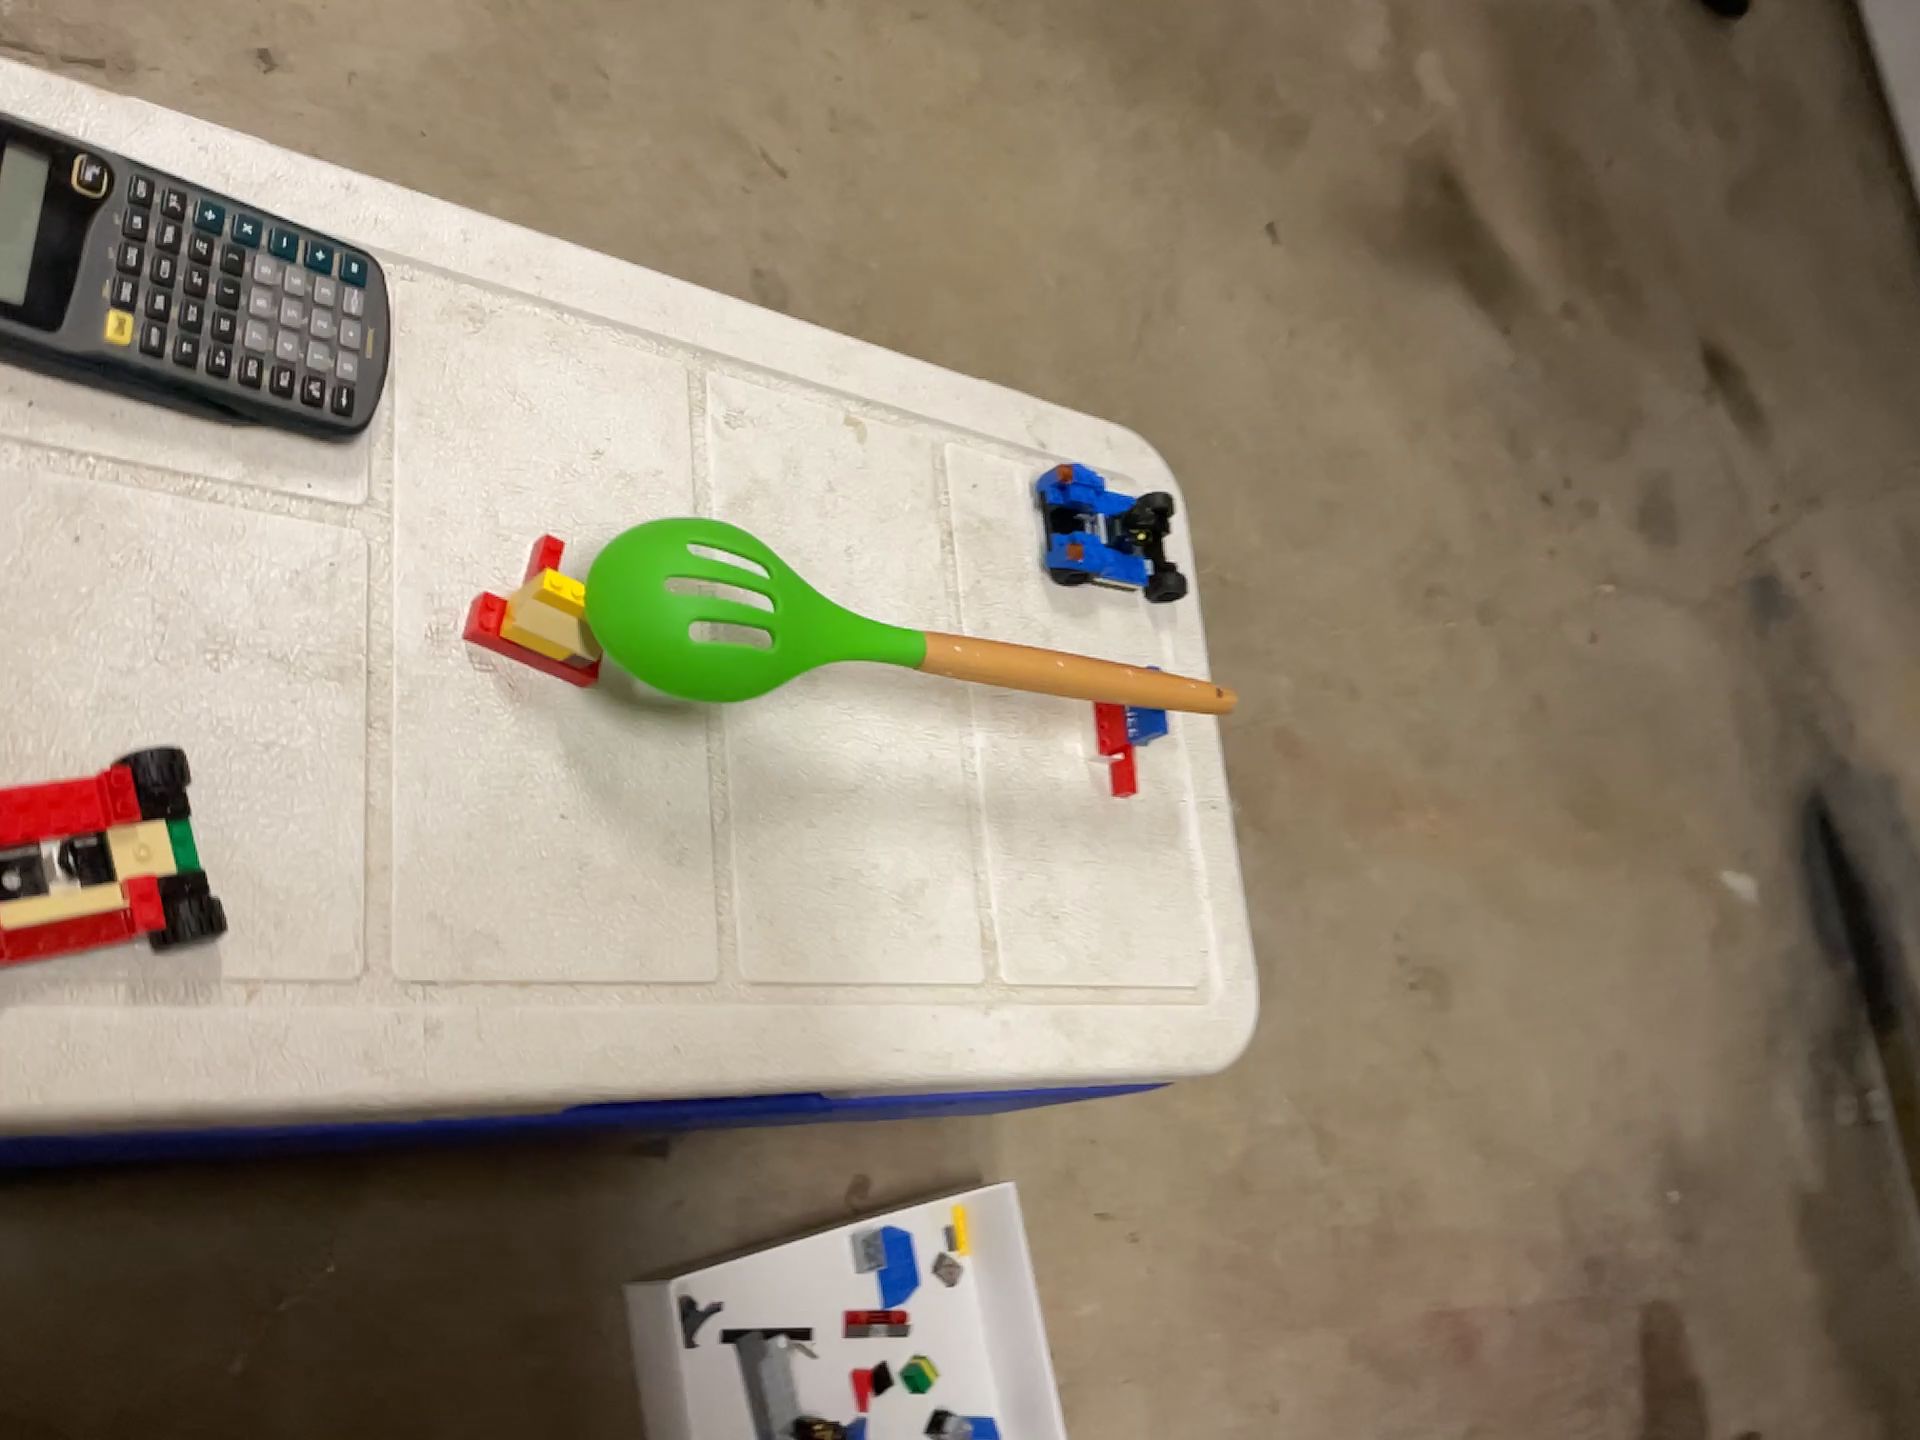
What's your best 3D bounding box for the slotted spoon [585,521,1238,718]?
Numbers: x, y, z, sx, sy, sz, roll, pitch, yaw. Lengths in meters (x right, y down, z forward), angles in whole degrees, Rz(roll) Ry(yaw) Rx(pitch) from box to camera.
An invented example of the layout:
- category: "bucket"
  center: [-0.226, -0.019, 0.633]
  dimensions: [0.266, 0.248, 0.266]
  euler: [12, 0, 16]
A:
- category: "slotted spoon"
  center: [0.002, -0.026, 0.632]
  dimensions: [0.313, 0.031, 0.070]
  euler: [8, 67, -39]
